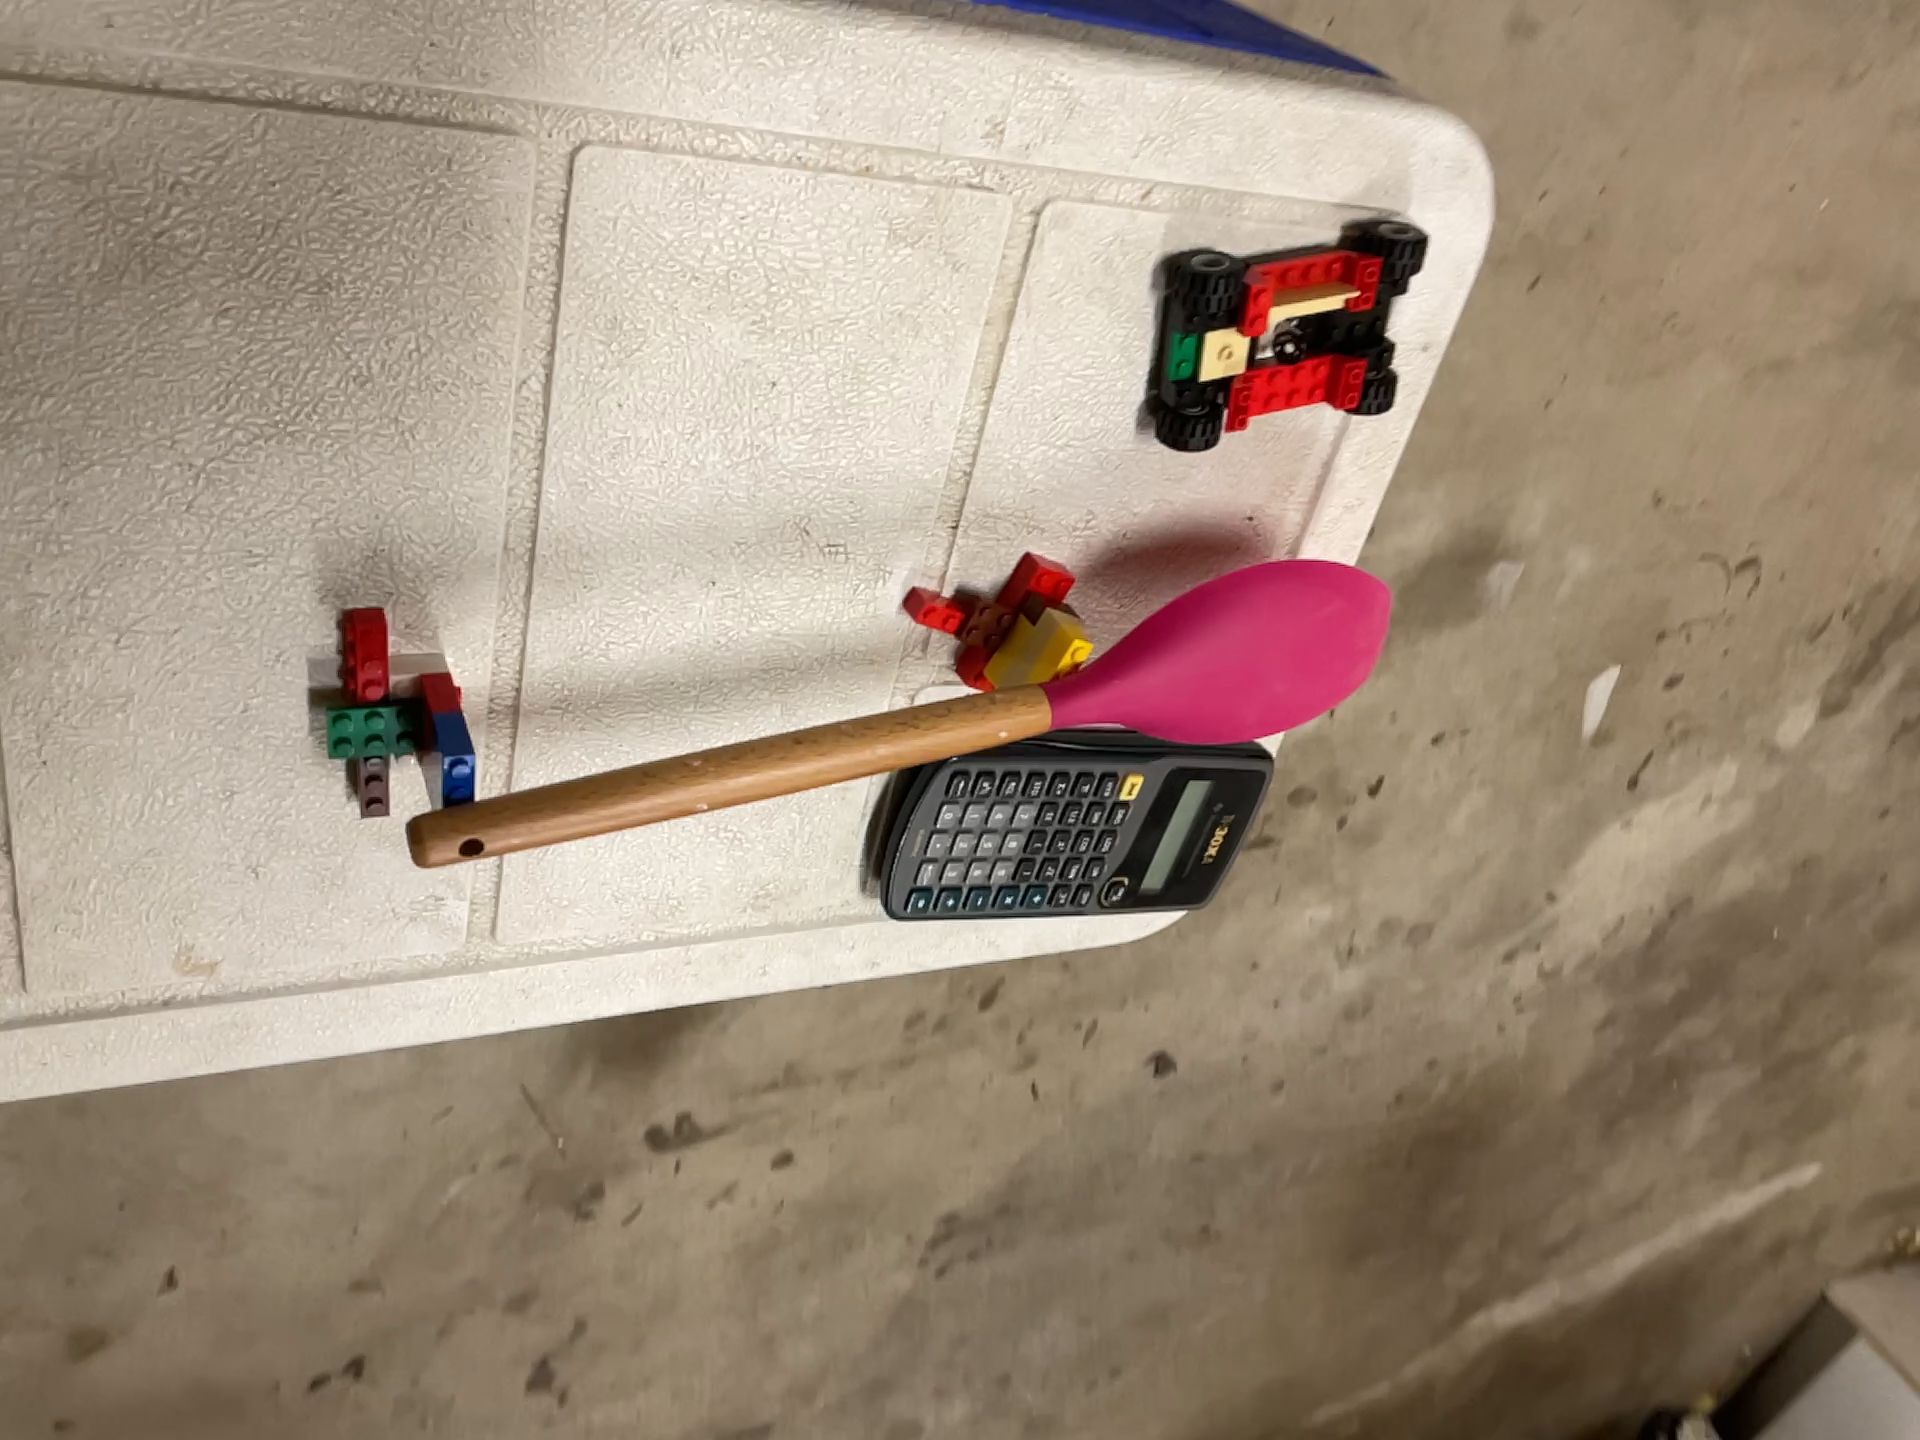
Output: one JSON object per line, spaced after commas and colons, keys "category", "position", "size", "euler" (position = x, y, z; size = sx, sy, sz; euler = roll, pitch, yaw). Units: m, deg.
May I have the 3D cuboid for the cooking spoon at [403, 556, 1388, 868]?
{"category": "cooking spoon", "position": [0.001, 0.001, 0.475], "size": [0.319, 0.017, 0.068], "euler": [-12, 126, -24]}
